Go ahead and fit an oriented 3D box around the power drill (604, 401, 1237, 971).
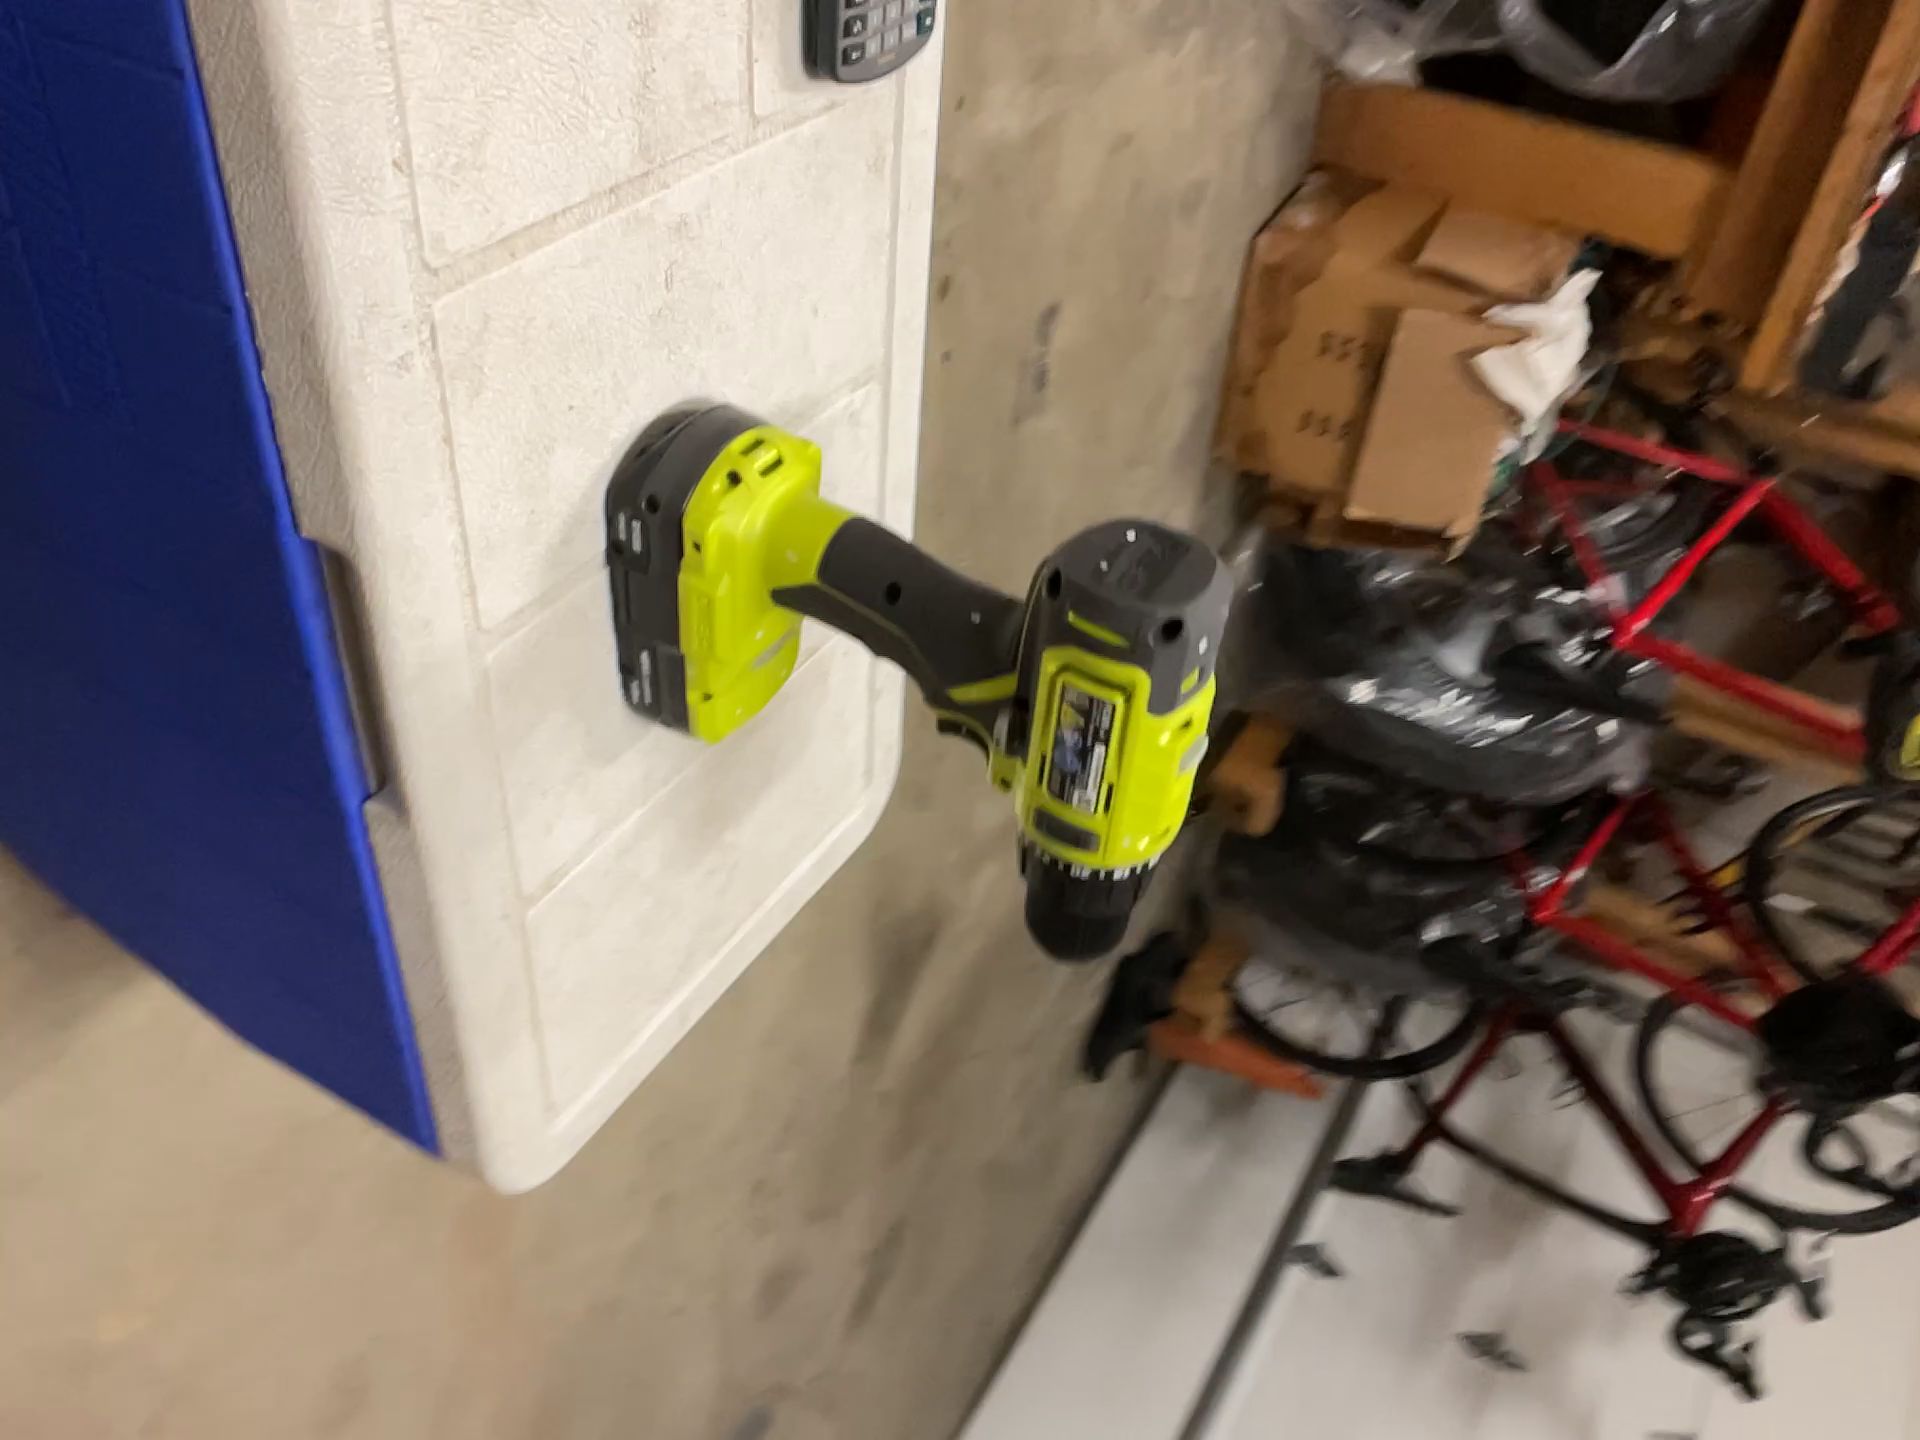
[{"bbox_3d":[-0.017,-0.011,0.602,0.080,0.228,0.190,-48,154,-43],"label":"power drill"}]
